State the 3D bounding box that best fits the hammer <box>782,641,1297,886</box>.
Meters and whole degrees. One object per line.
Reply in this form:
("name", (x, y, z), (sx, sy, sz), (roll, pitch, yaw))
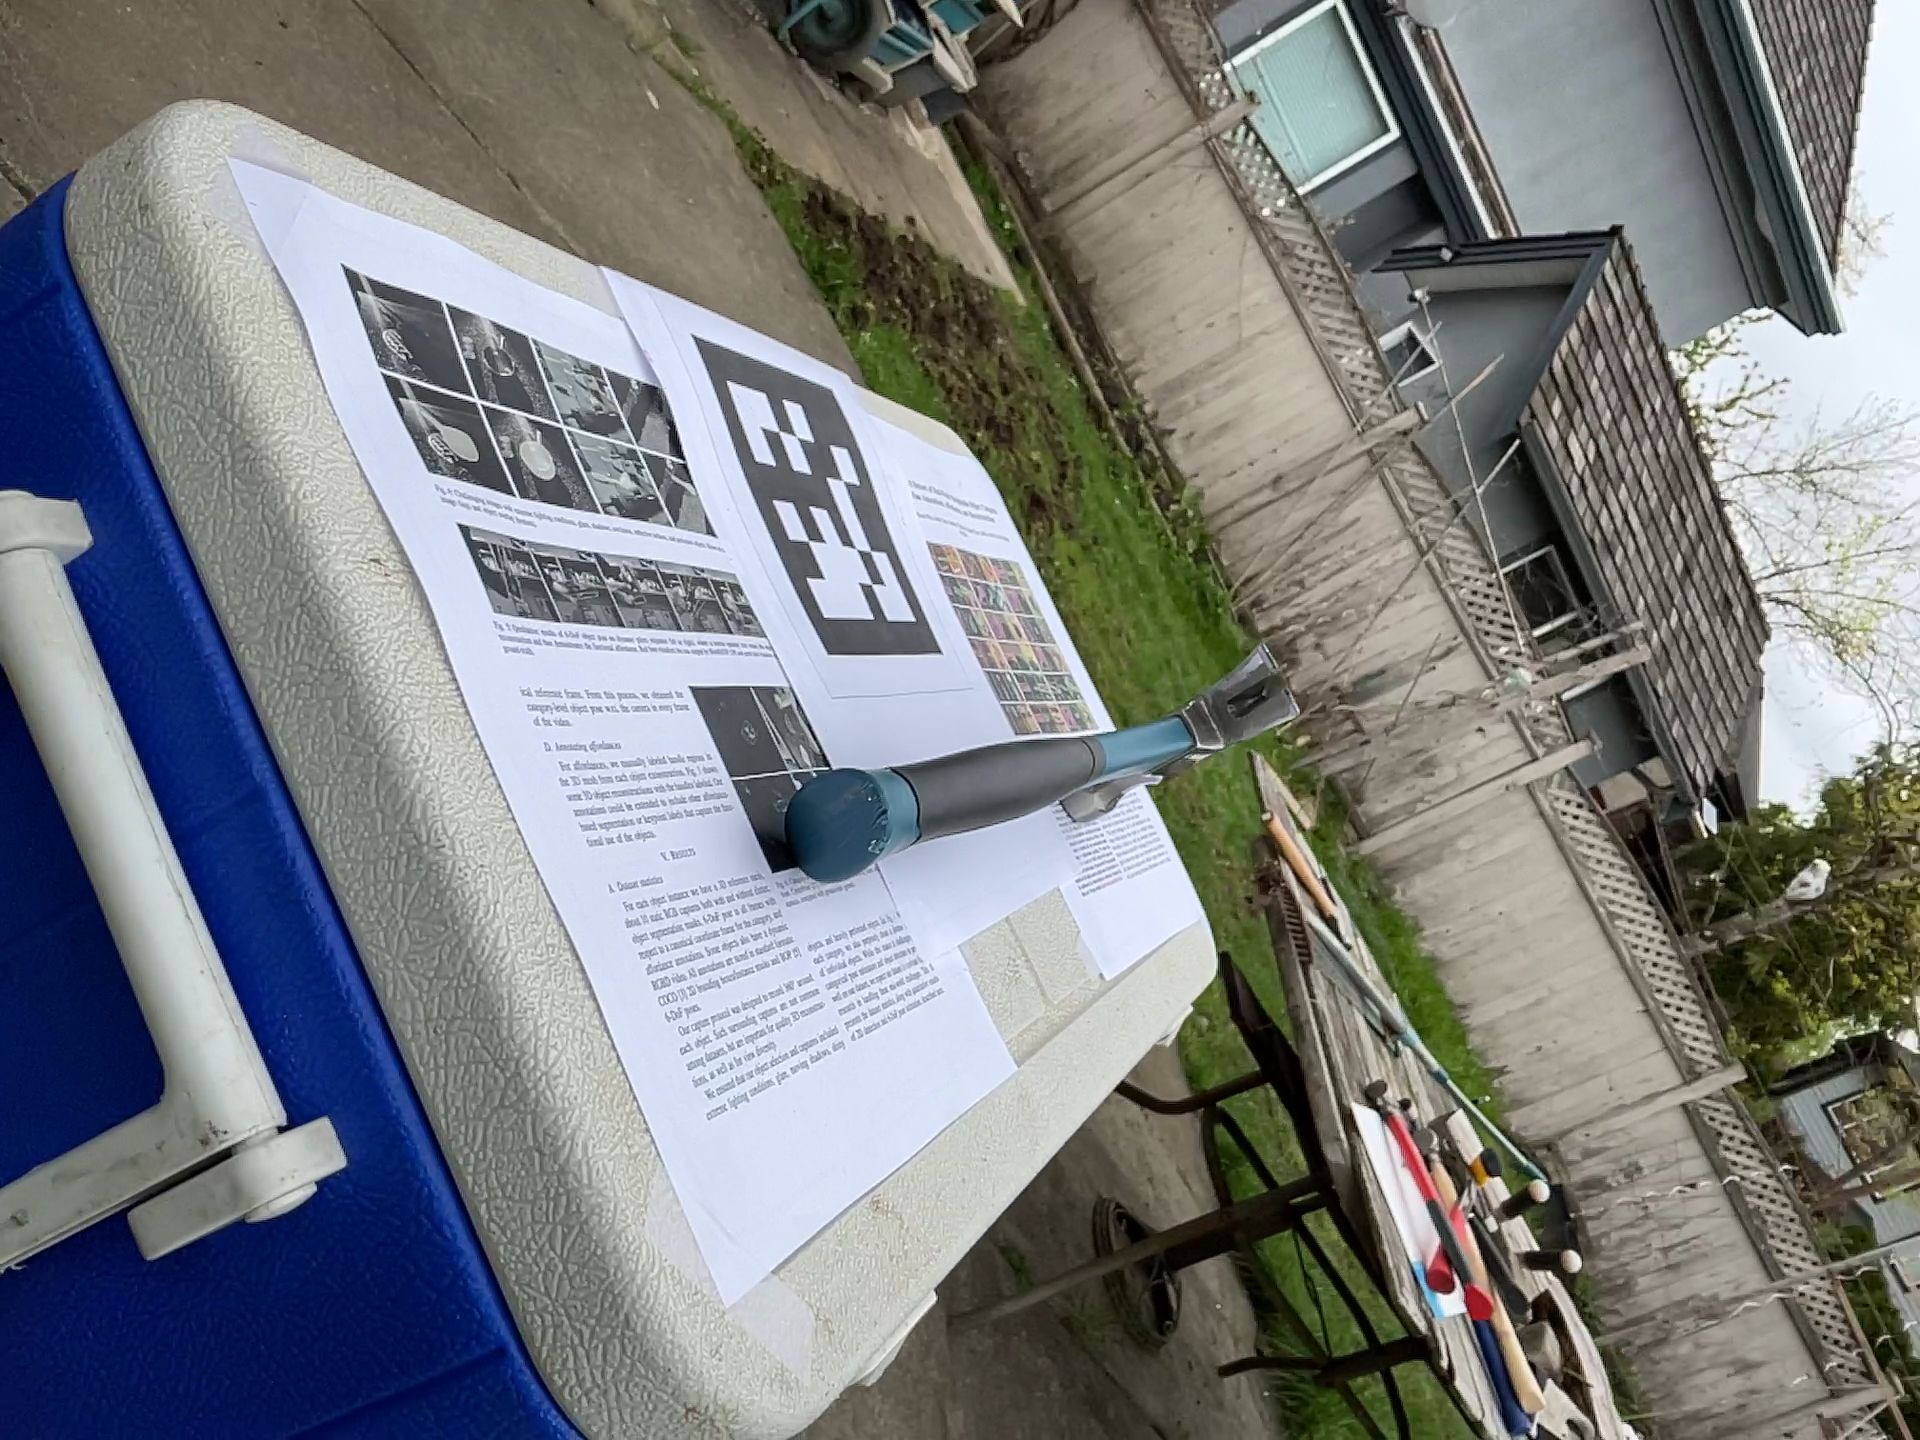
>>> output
("hammer", (0.035, 0.019, 0.587), (0.033, 0.128, 0.331), (63, 25, 9))
